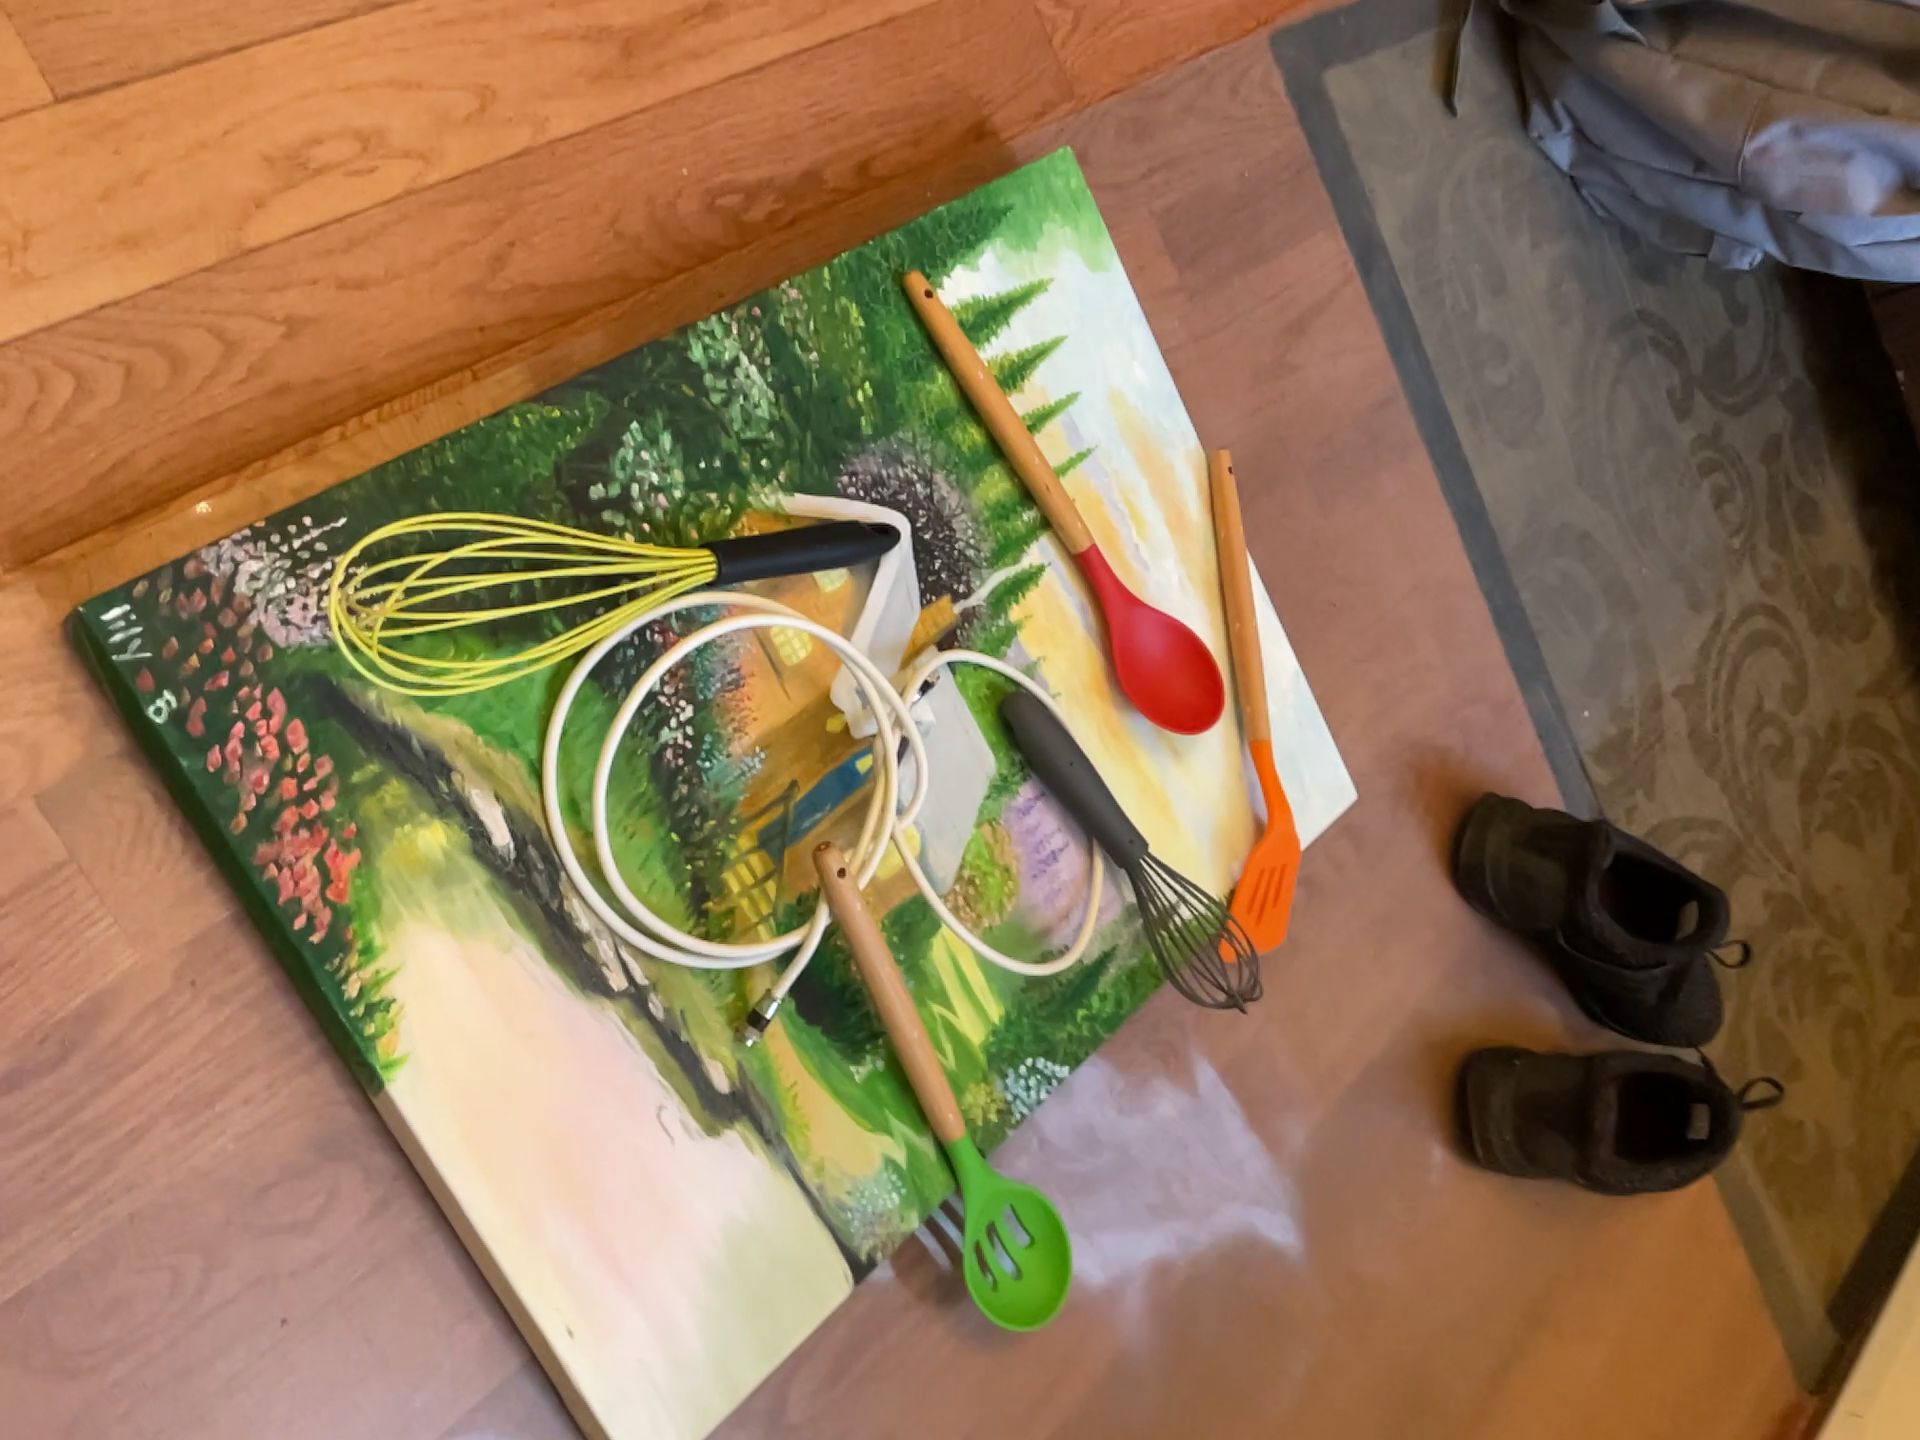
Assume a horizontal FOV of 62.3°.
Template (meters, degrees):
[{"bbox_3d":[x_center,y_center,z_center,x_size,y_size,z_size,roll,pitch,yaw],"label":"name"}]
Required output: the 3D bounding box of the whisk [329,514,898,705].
[{"bbox_3d":[-0.147,-0.068,0.752,0.311,0.067,0.080,-16,99,-42],"label":"whisk"}]

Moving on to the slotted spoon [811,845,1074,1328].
[{"bbox_3d":[-0.011,0.194,0.825,0.070,0.031,0.313,-39,119,-32],"label":"slotted spoon"}]

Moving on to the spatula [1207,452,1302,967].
[{"bbox_3d":[0.178,-0.008,1.005,0.081,0.041,0.323,-4,85,-47],"label":"spatula"}]

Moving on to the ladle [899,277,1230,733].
[{"bbox_3d":[0.059,-0.120,0.921,0.069,0.031,0.315,-46,108,-32],"label":"ladle"}]

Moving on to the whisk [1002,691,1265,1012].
[{"bbox_3d":[0.099,0.078,0.915,0.239,0.055,0.055,52,48,-13],"label":"whisk"}]
